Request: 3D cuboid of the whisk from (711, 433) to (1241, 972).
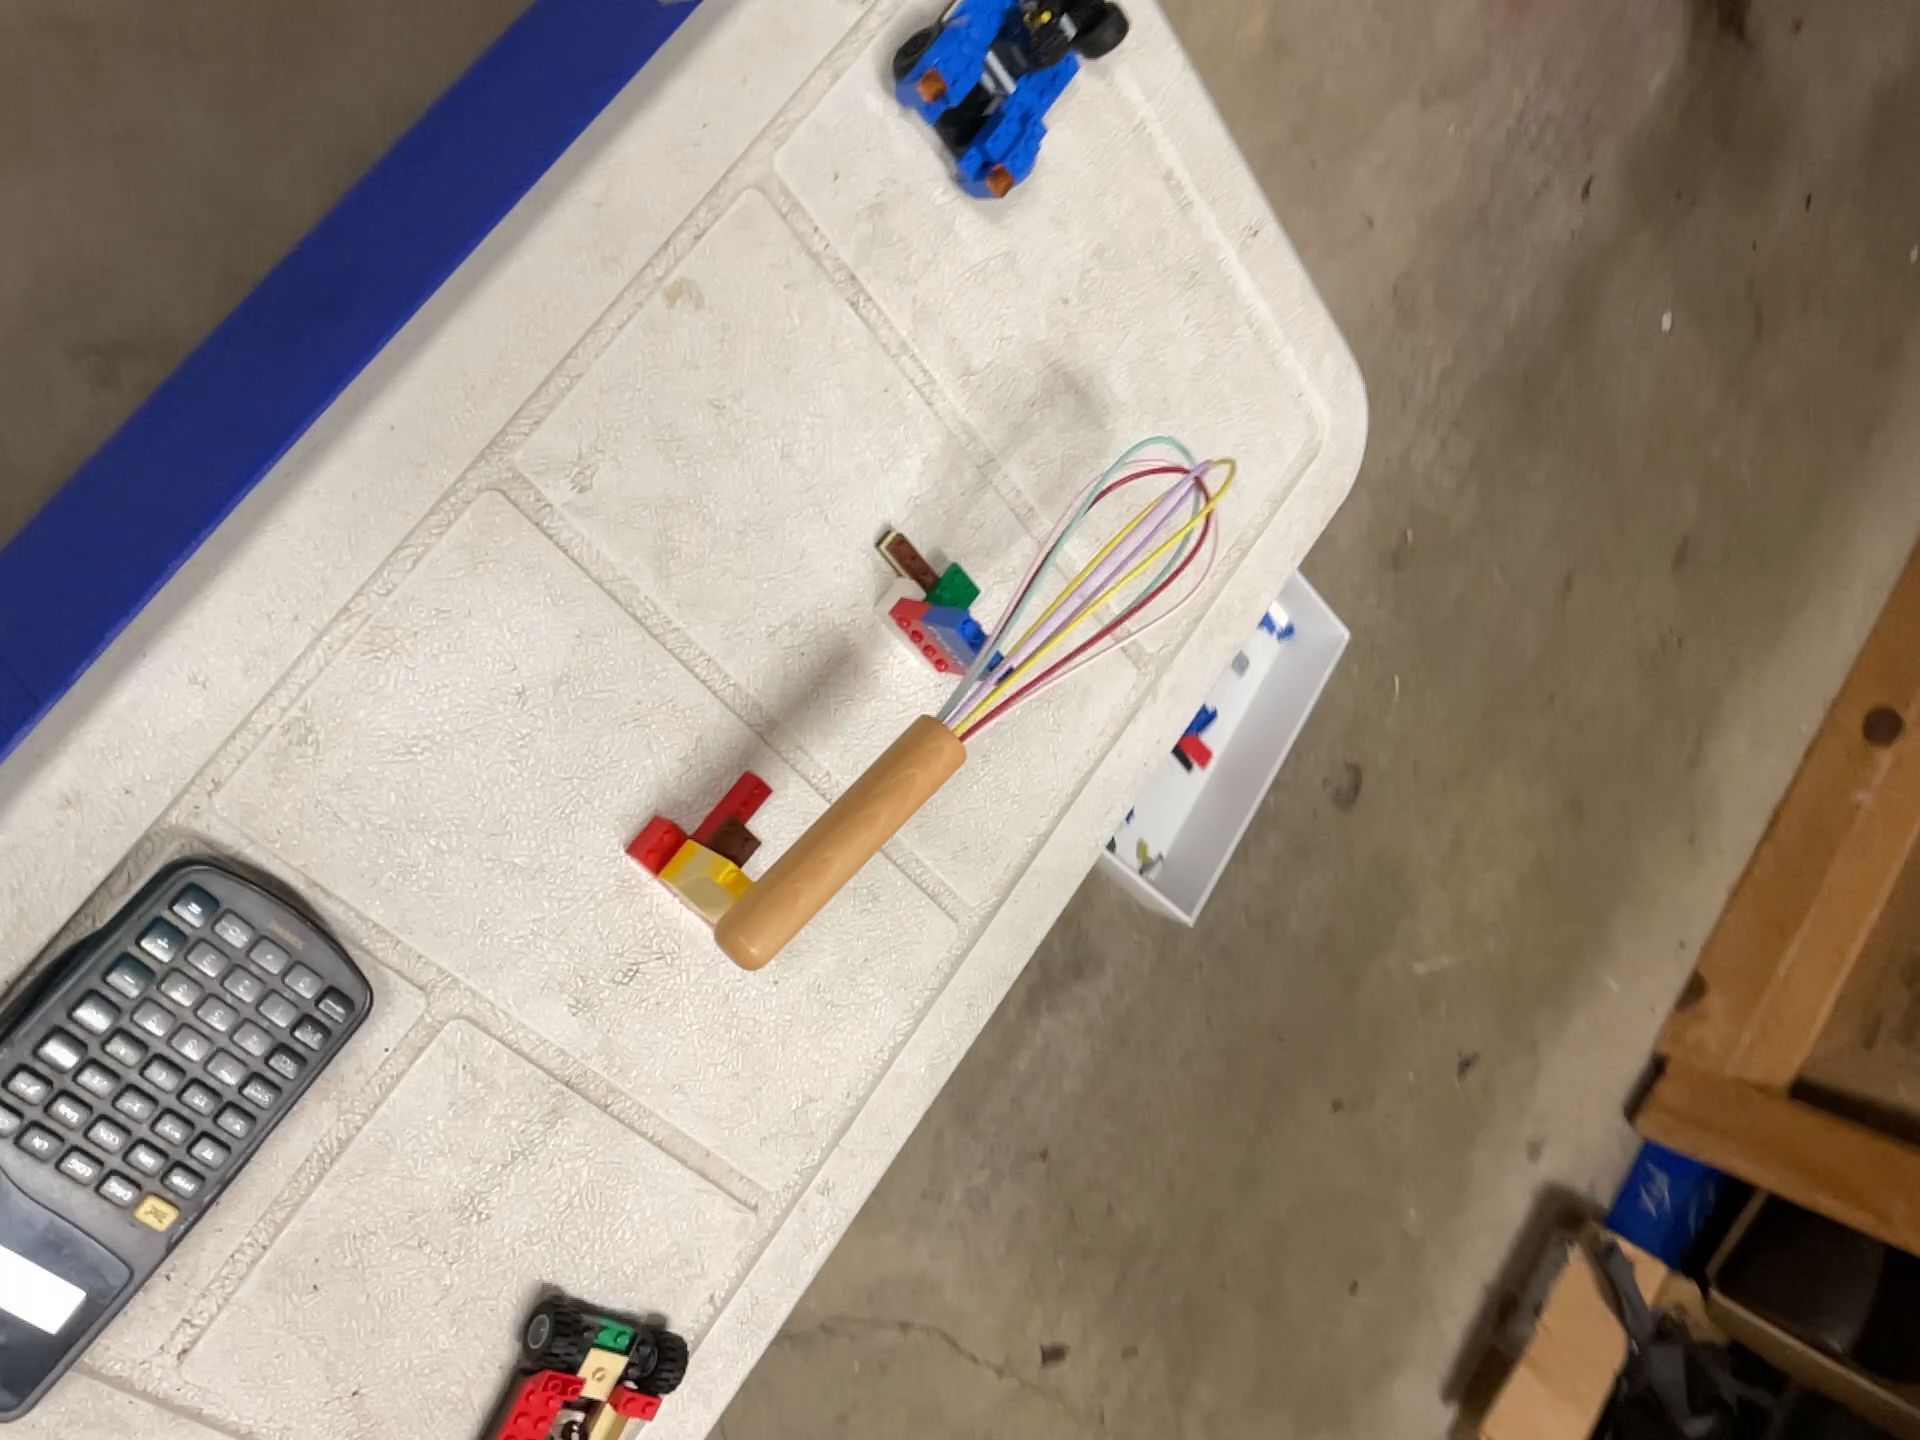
[{"bbox_3d":[0.011,-0.011,0.528,0.245,0.047,0.051,-45,137,-17],"label":"whisk"}]
